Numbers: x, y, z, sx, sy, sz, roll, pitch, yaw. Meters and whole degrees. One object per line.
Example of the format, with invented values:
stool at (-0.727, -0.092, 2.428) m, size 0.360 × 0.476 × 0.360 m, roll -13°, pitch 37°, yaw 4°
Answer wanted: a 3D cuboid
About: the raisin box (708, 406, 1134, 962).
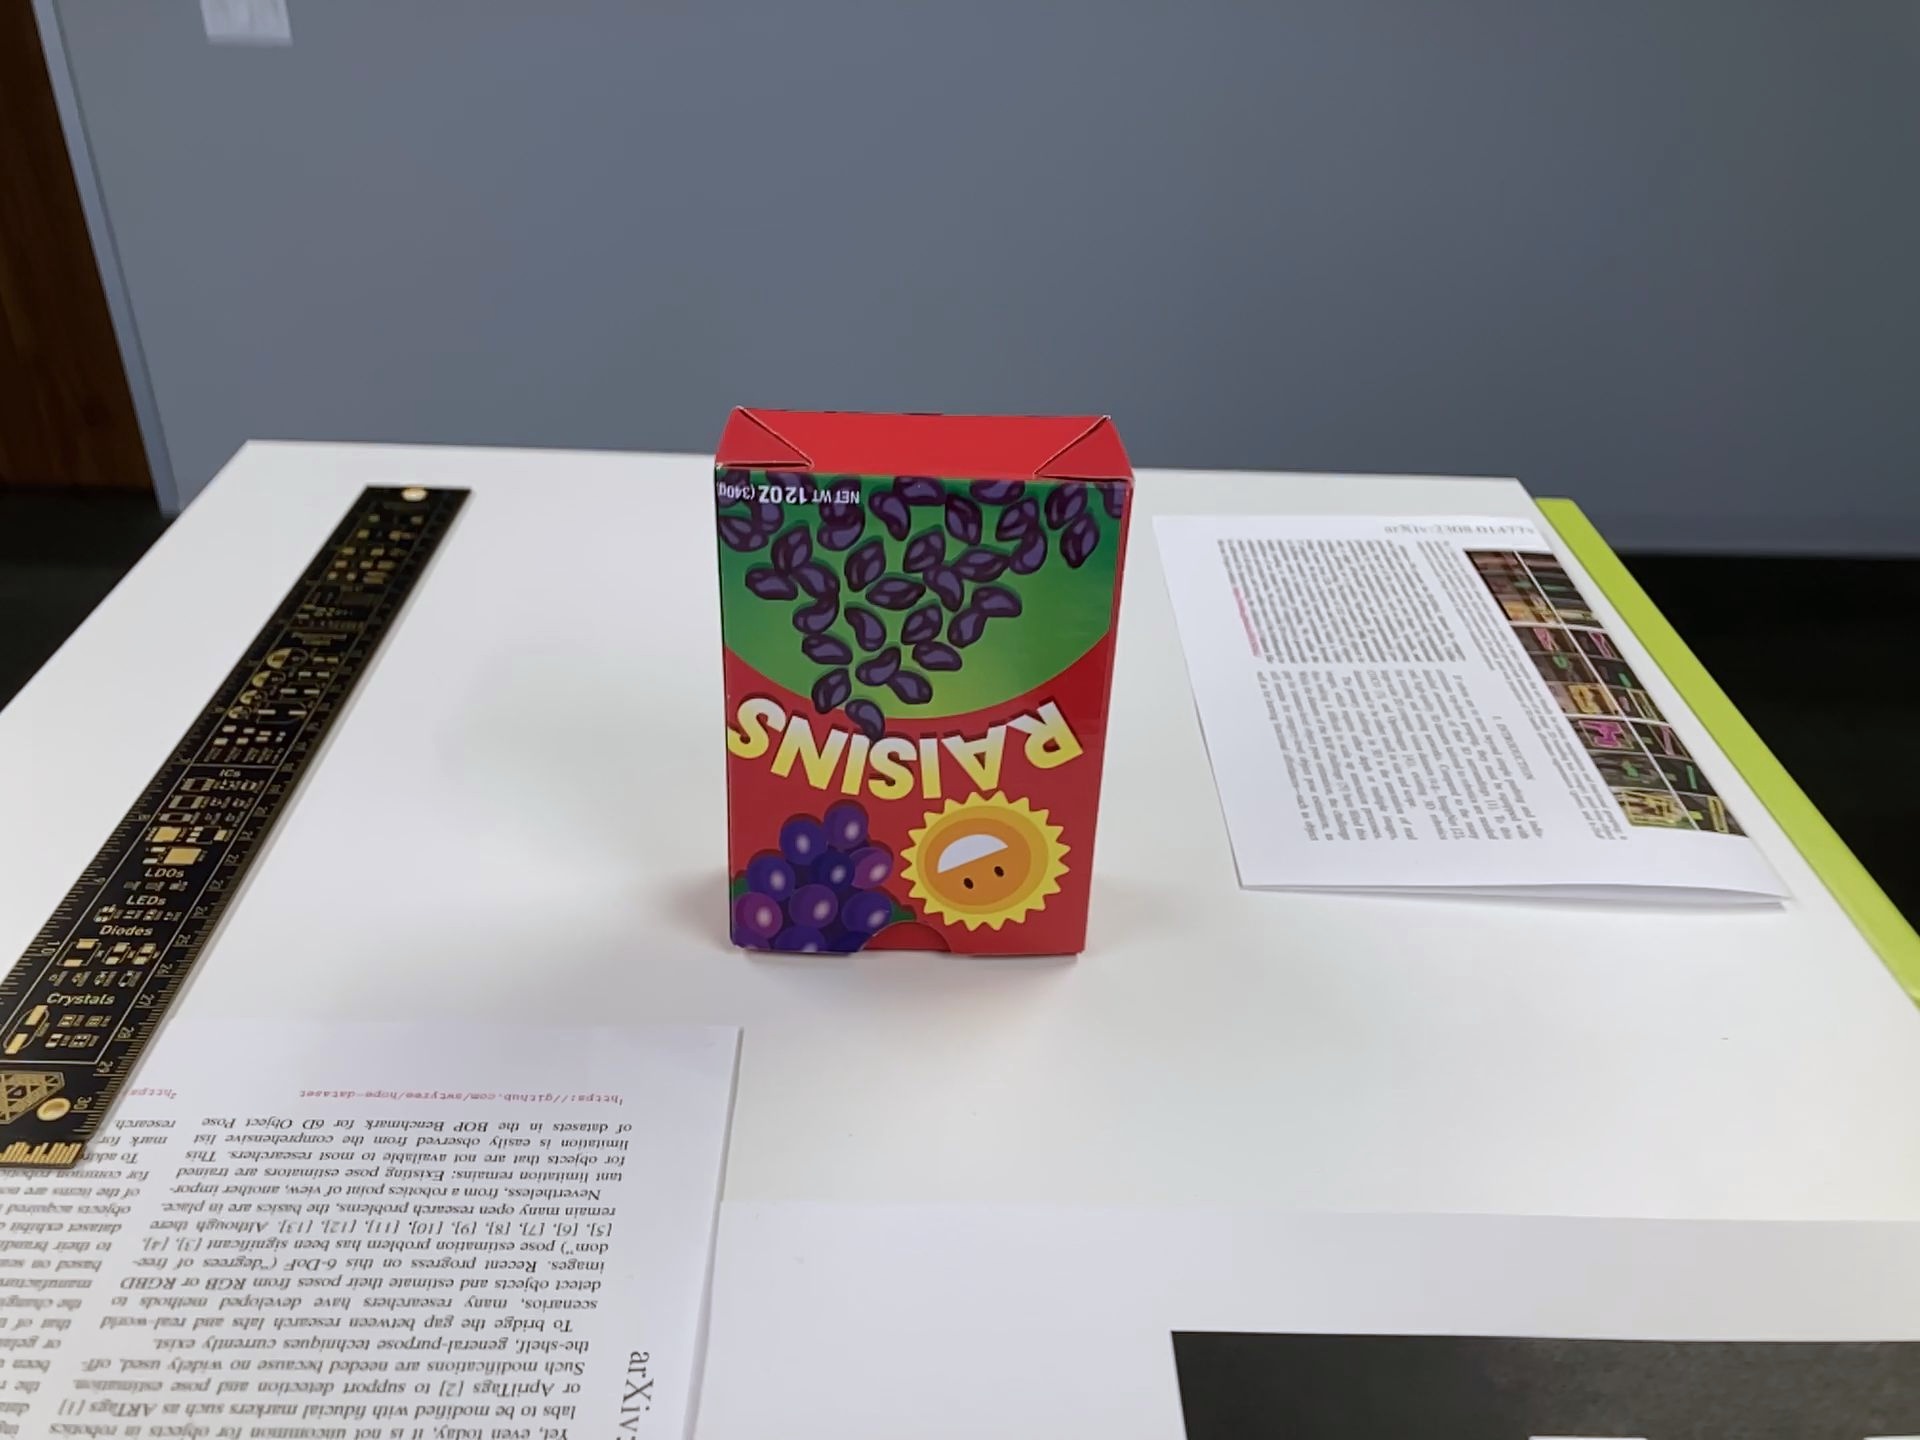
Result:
raisin box at (-0.009, -0.005, 0.357) m, size 0.086 × 0.123 × 0.040 m, roll 1°, pitch 31°, yaw -3°
